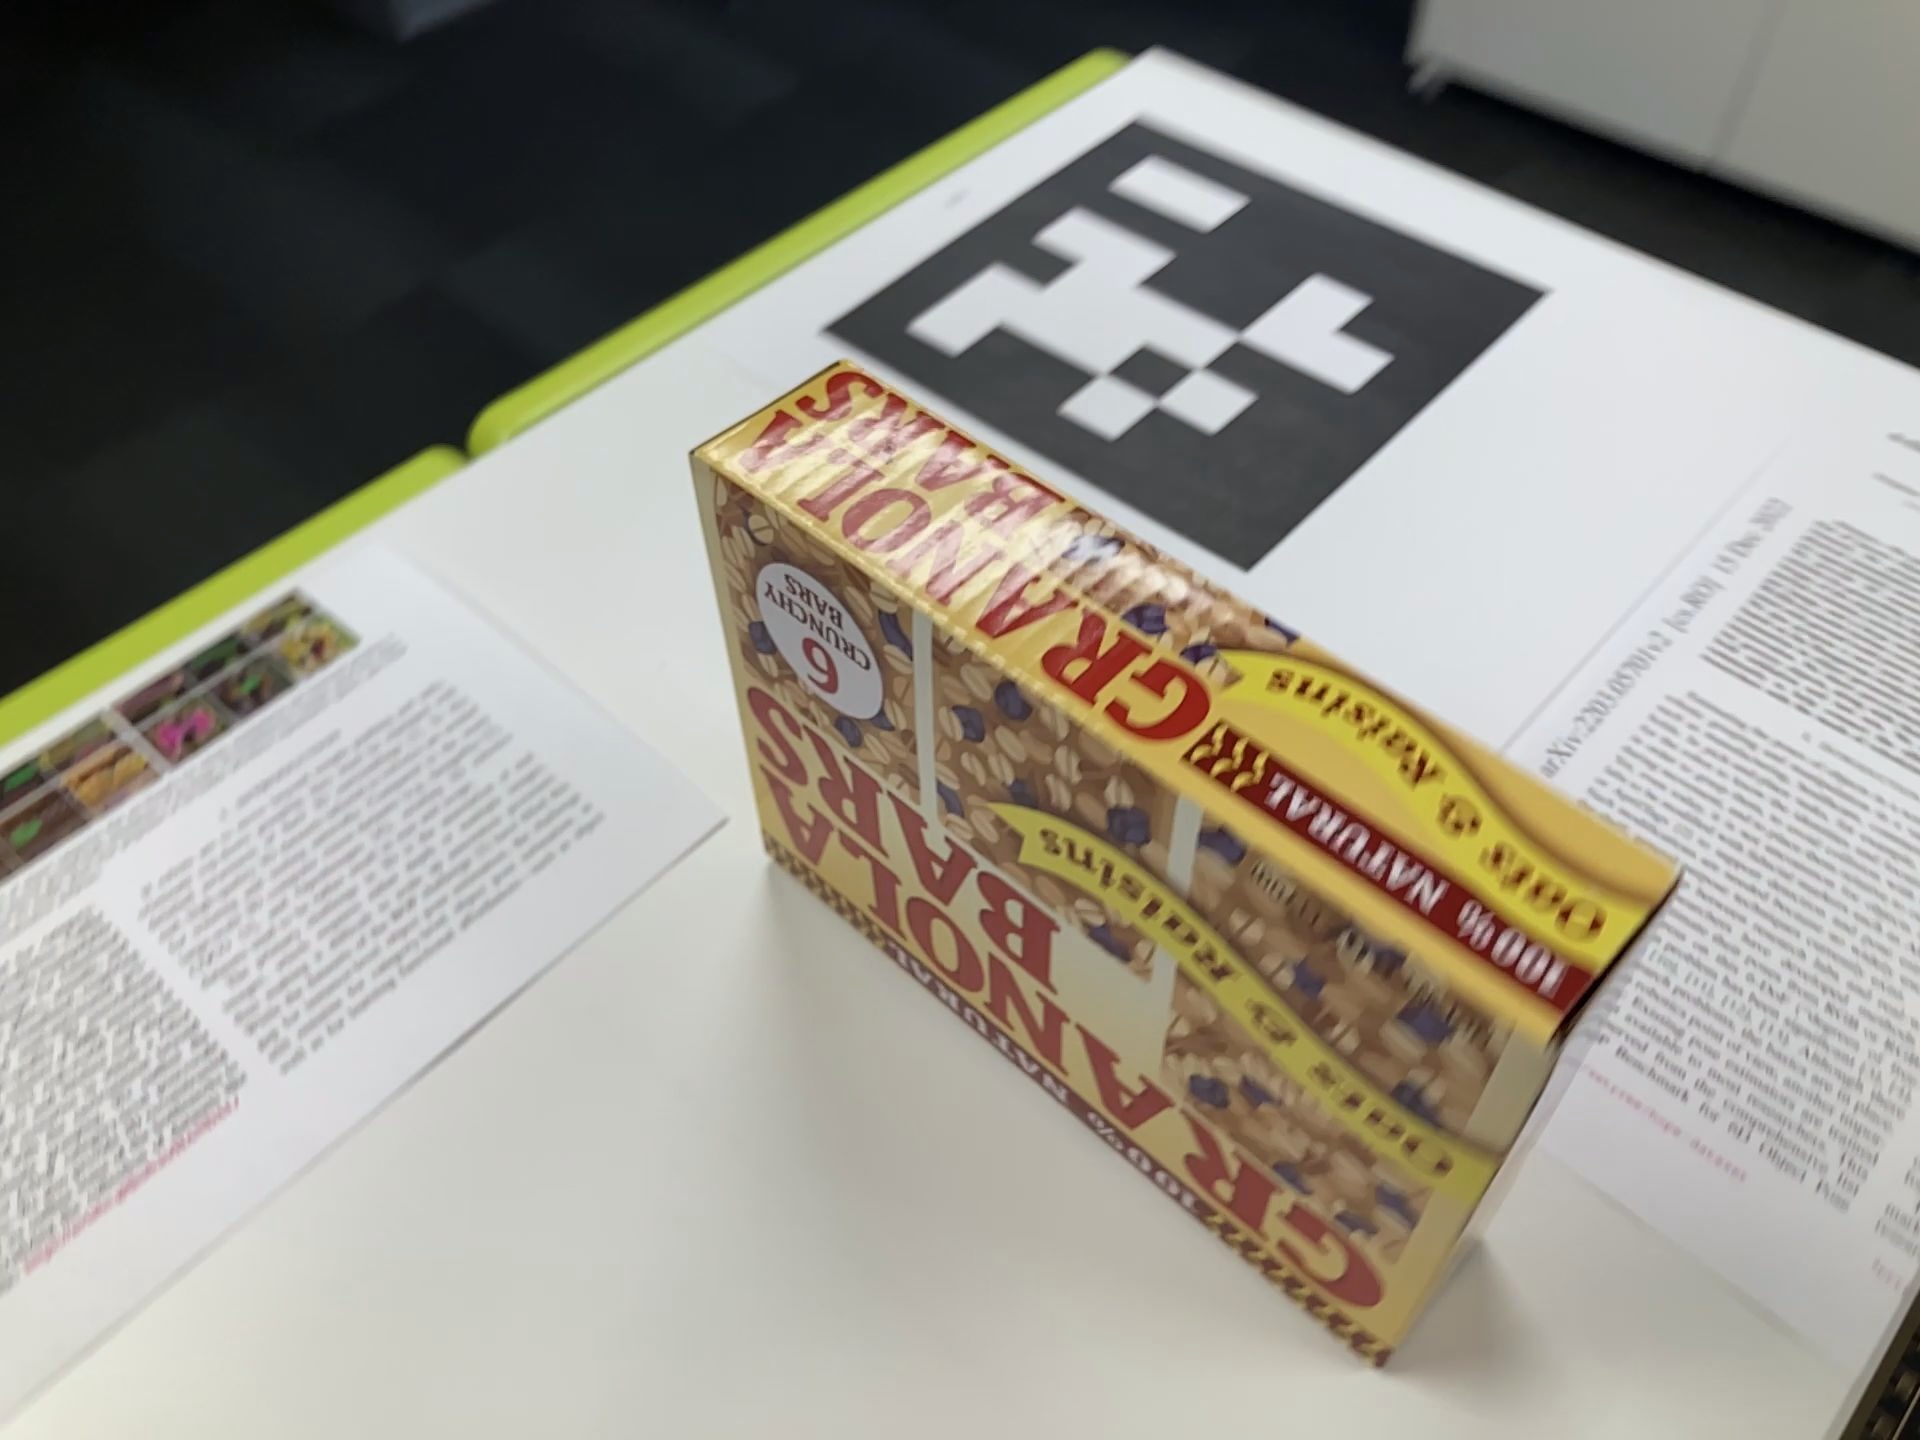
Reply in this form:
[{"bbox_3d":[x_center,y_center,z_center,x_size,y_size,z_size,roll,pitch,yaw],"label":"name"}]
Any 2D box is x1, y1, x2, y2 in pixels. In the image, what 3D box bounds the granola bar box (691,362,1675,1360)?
[{"bbox_3d":[0.027,0.026,0.291,0.165,0.124,0.039,36,59,27],"label":"granola bar box"}]
